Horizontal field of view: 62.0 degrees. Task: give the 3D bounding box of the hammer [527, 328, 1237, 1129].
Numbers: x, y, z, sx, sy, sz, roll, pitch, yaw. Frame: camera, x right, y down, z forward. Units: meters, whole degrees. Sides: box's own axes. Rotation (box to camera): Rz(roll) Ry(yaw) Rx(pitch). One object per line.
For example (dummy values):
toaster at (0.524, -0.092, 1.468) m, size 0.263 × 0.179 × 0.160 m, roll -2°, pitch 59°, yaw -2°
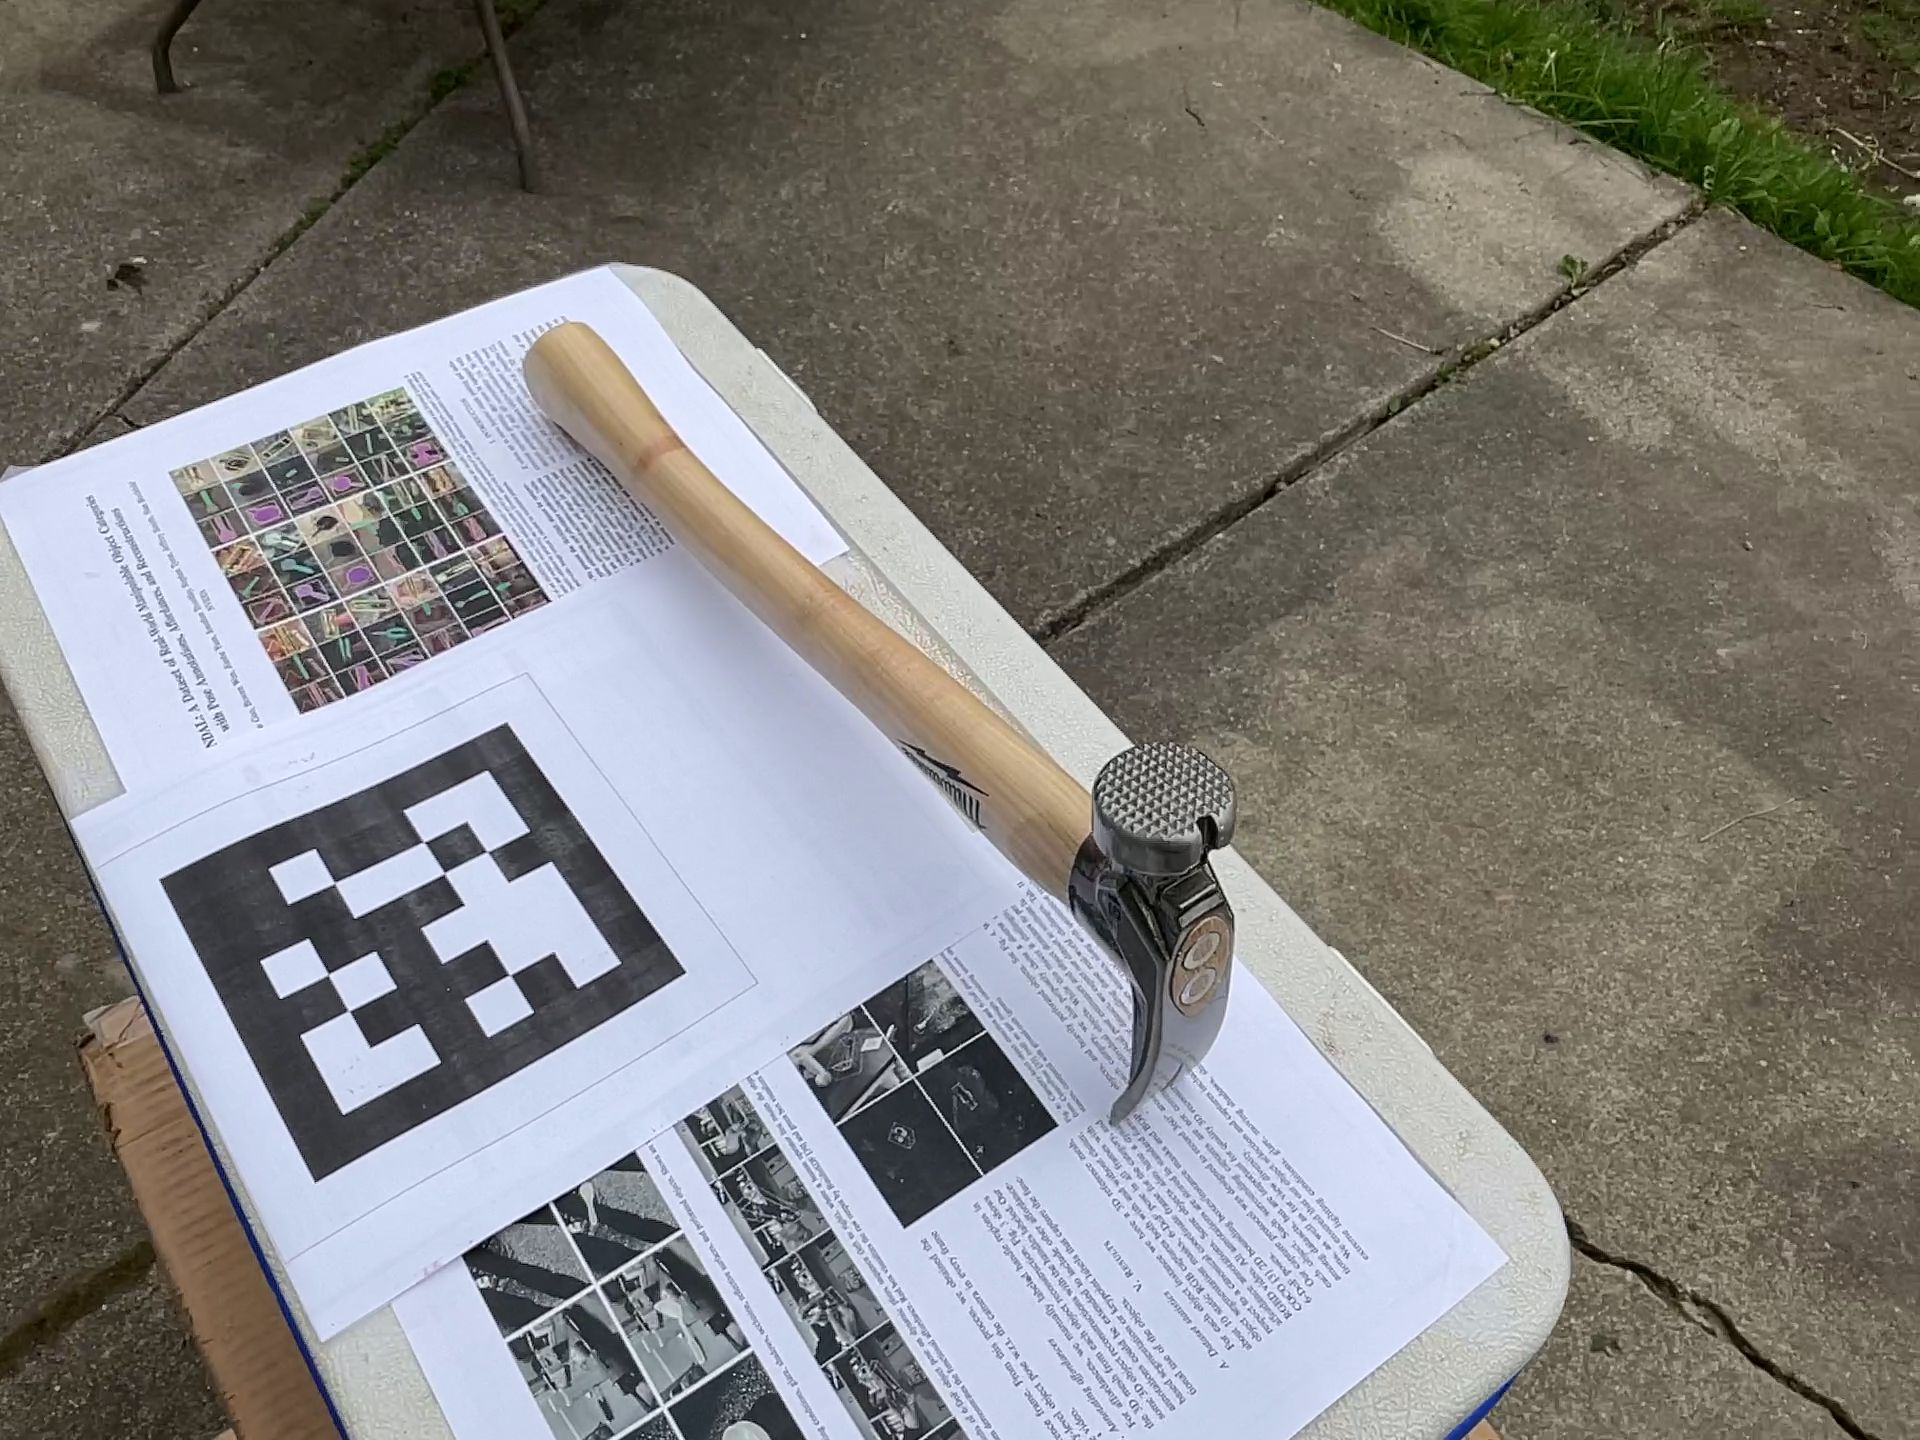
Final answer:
hammer at (-0.053, -0.030, 0.581) m, size 0.038 × 0.146 × 0.411 m, roll -28°, pitch 49°, yaw -24°
